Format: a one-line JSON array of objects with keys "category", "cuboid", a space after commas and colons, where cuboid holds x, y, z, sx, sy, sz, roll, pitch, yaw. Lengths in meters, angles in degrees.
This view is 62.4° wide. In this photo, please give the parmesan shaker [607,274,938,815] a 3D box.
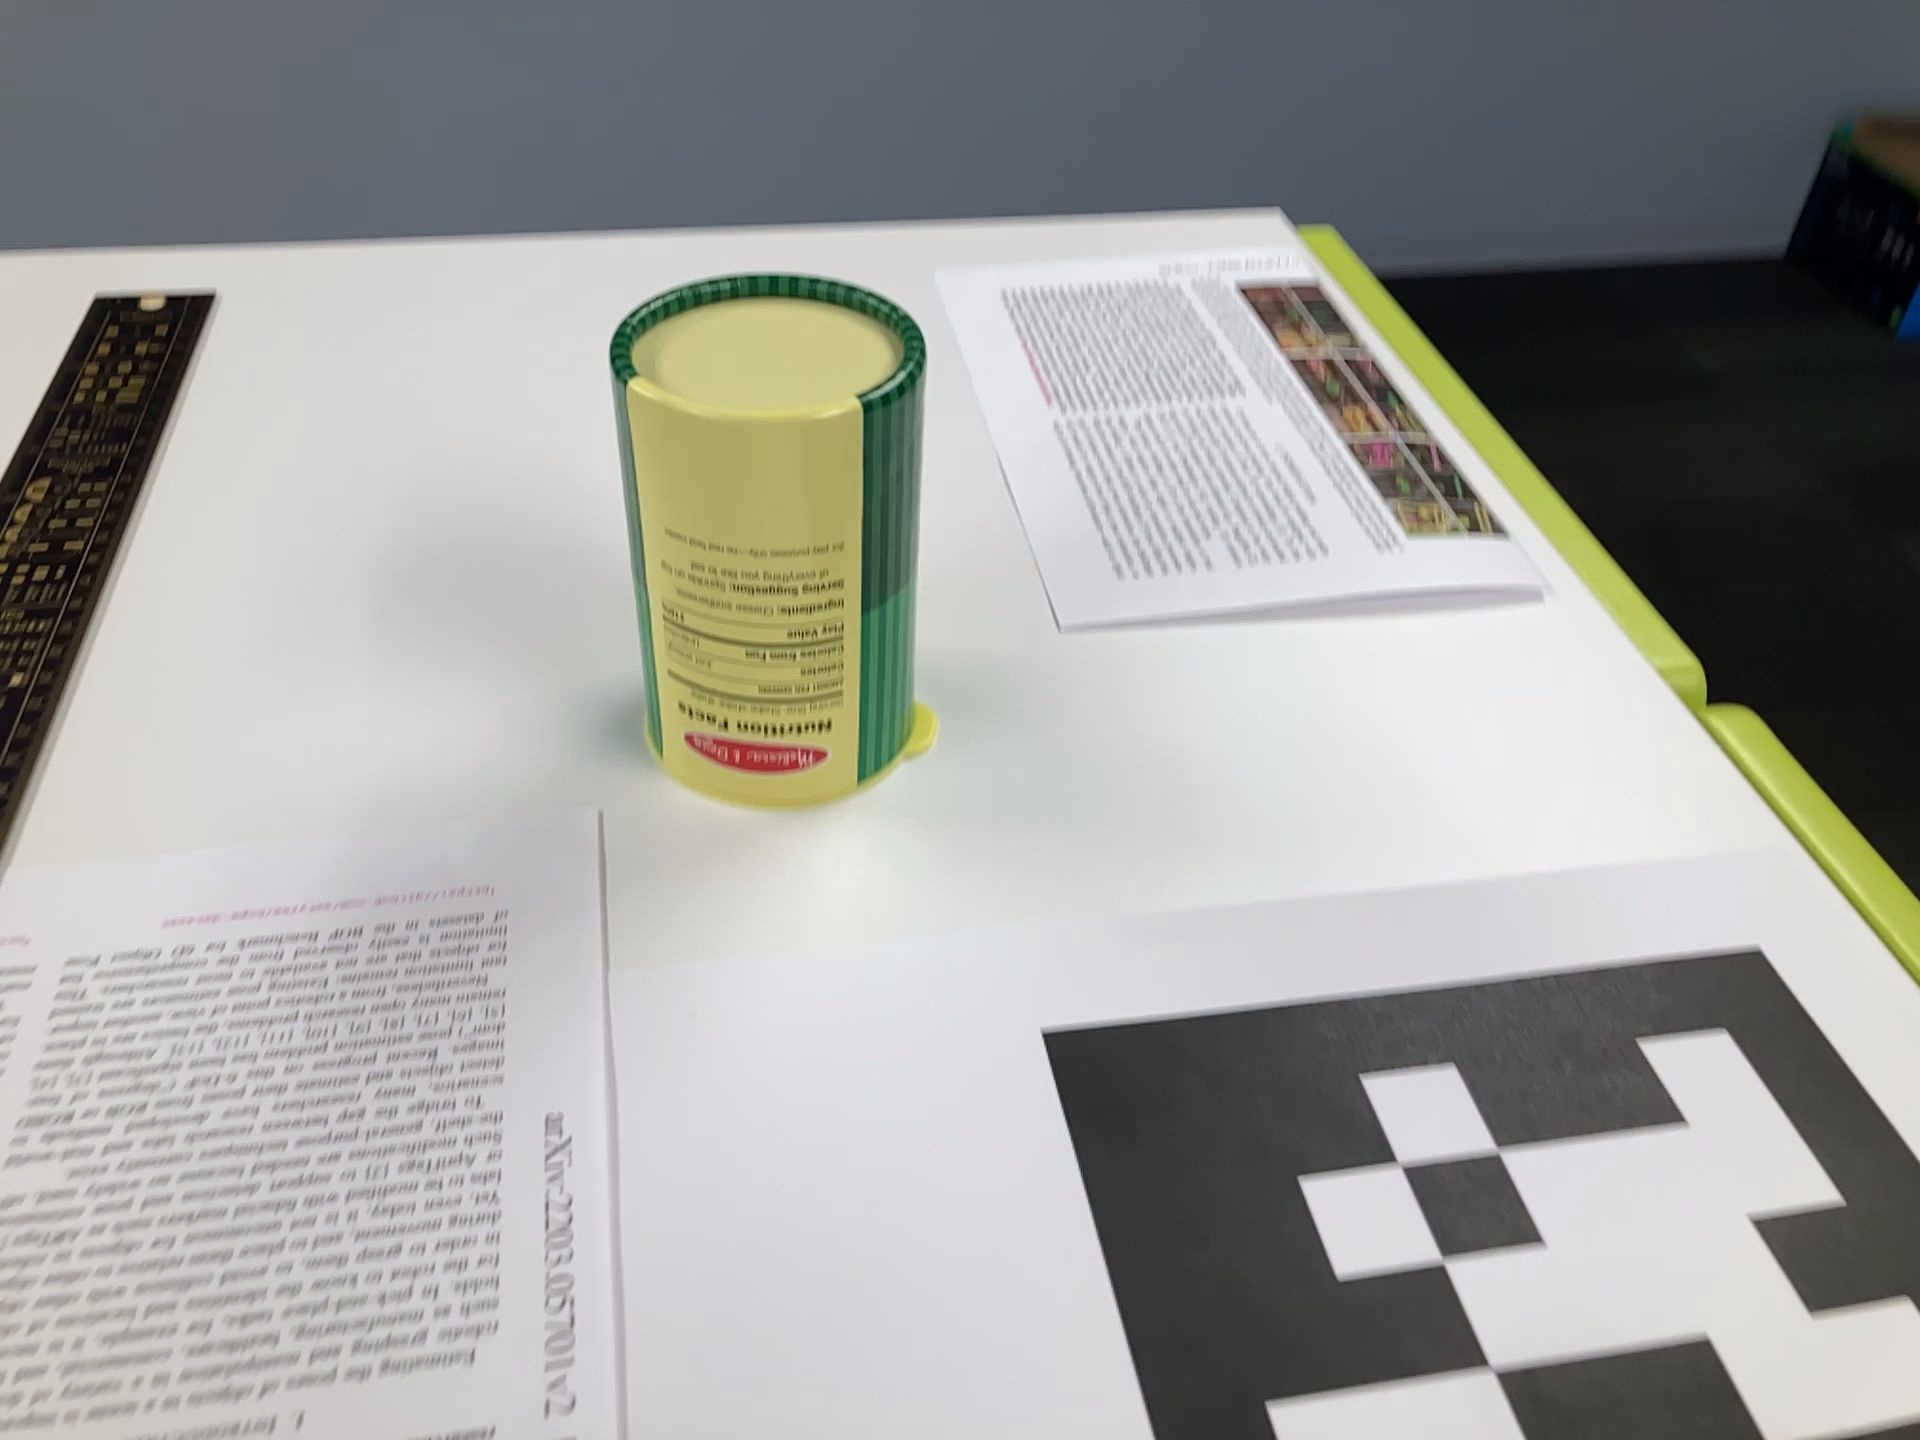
[{"category": "parmesan shaker", "cuboid": [-0.038, -0.039, 0.355, 0.071, 0.103, 0.071, 2, 40, -2]}]
